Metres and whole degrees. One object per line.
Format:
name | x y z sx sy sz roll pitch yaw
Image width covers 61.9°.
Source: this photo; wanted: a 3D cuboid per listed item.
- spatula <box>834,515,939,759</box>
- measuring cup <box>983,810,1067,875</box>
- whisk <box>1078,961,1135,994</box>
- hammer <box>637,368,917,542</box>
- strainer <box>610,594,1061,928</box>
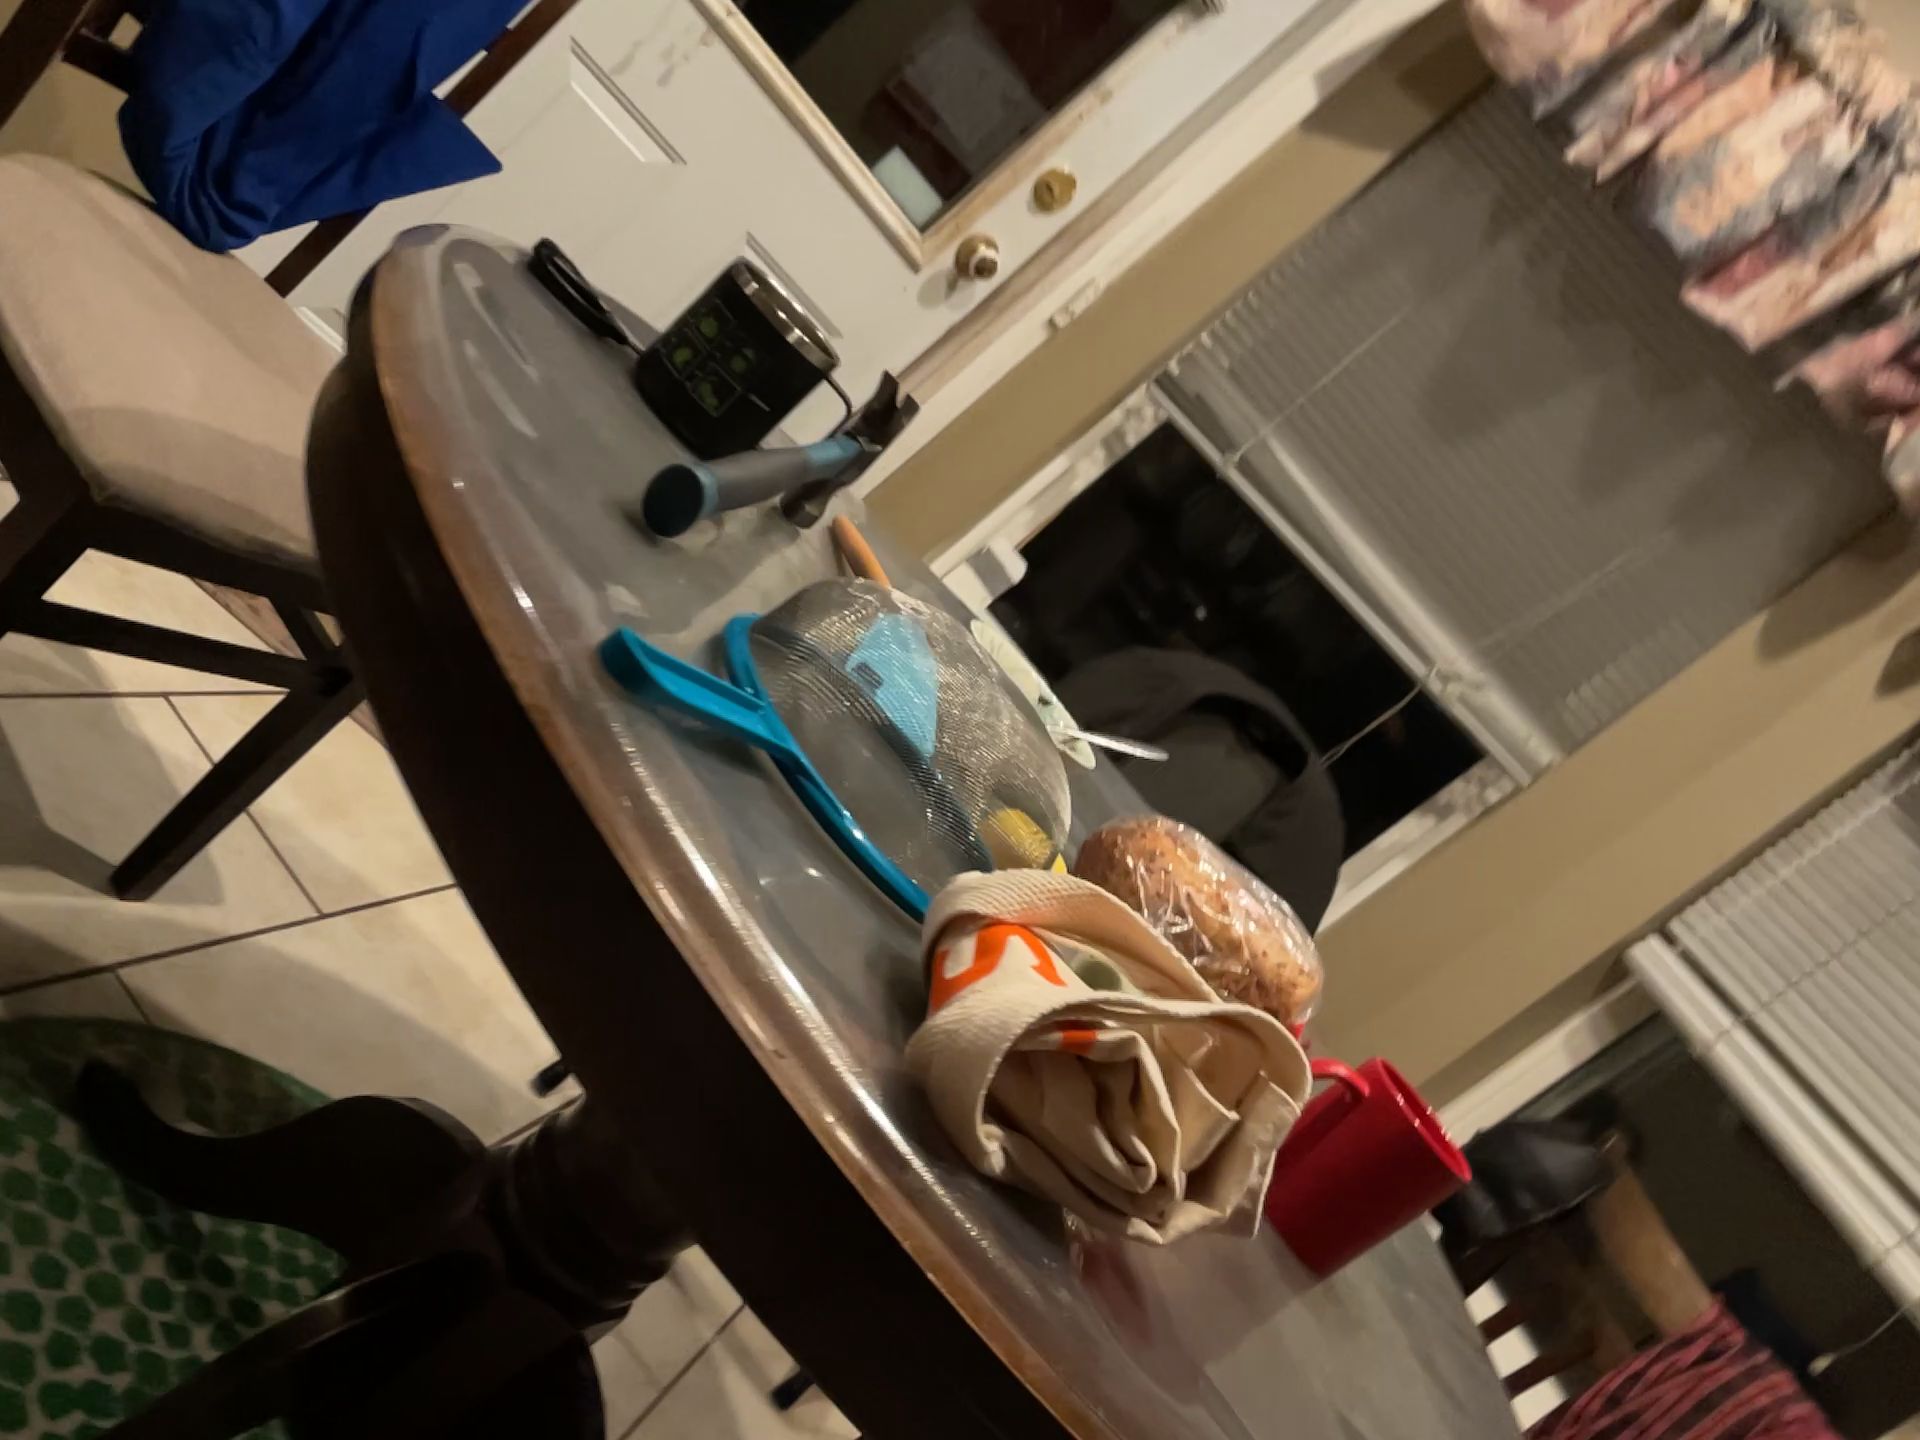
spatula | -0.062 -0.077 1.062 0.082 0.044 0.318 44 9 -26
measuring cup | 0.051 0.104 0.870 0.062 0.029 0.157 42 12 -36
whisk | 0.100 0.156 0.771 0.246 0.058 0.059 49 37 -58
hammer | -0.107 -0.145 0.940 0.033 0.128 0.331 47 20 -1
strainer | -0.037 -0.007 0.730 0.211 0.095 0.340 54 7 23
